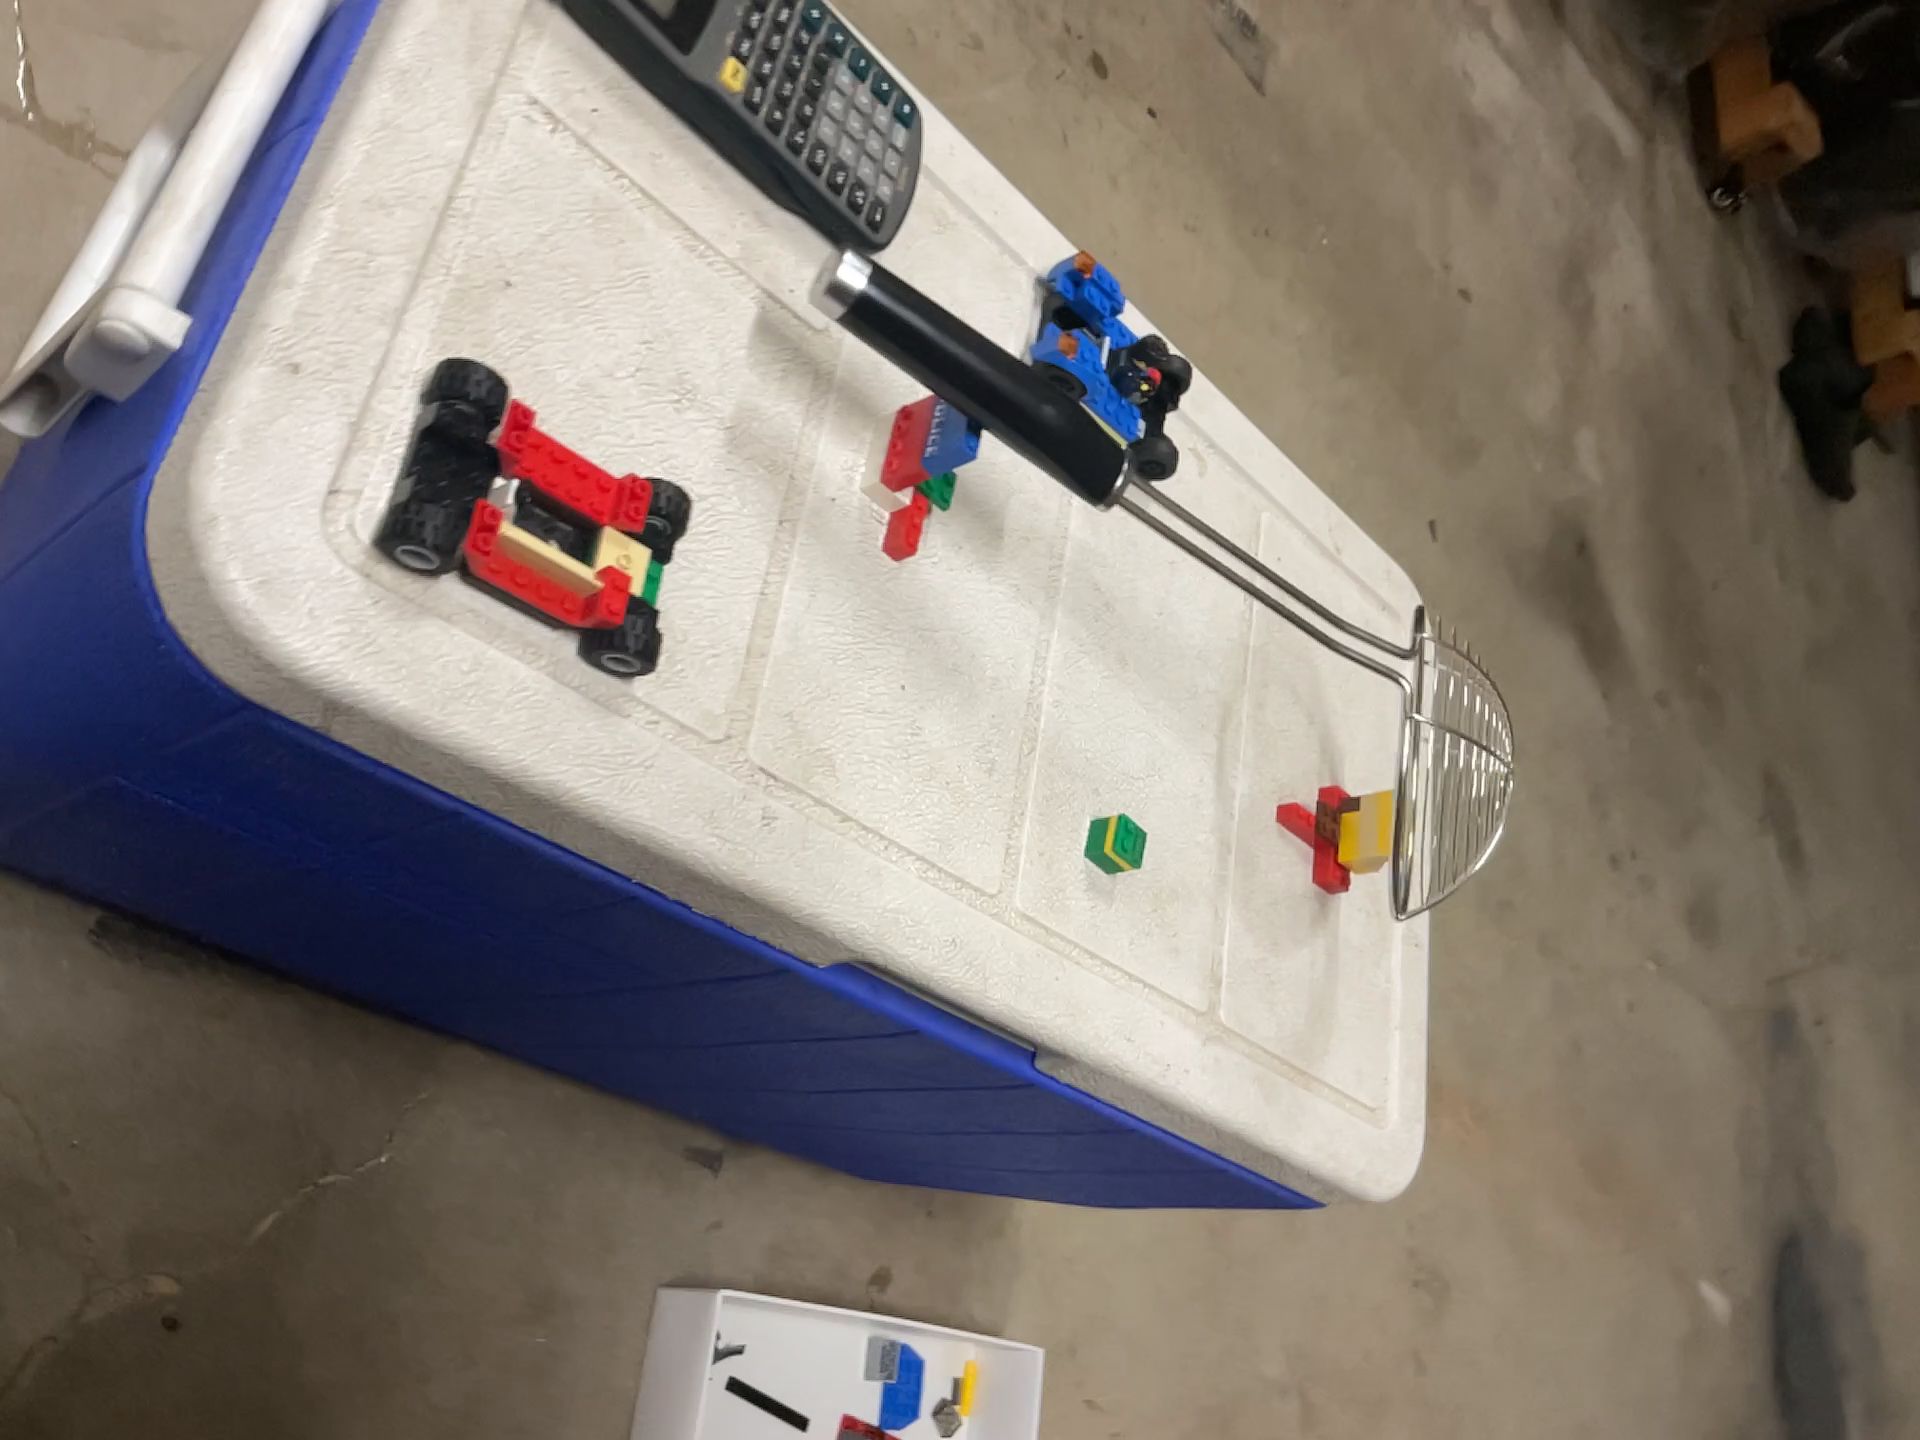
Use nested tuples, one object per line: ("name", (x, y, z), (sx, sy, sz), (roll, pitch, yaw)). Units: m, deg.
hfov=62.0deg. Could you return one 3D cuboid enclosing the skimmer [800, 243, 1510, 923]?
("skimmer", (0.080, -0.043, 0.587), (0.363, 0.090, 0.127), (31, 56, -25))
